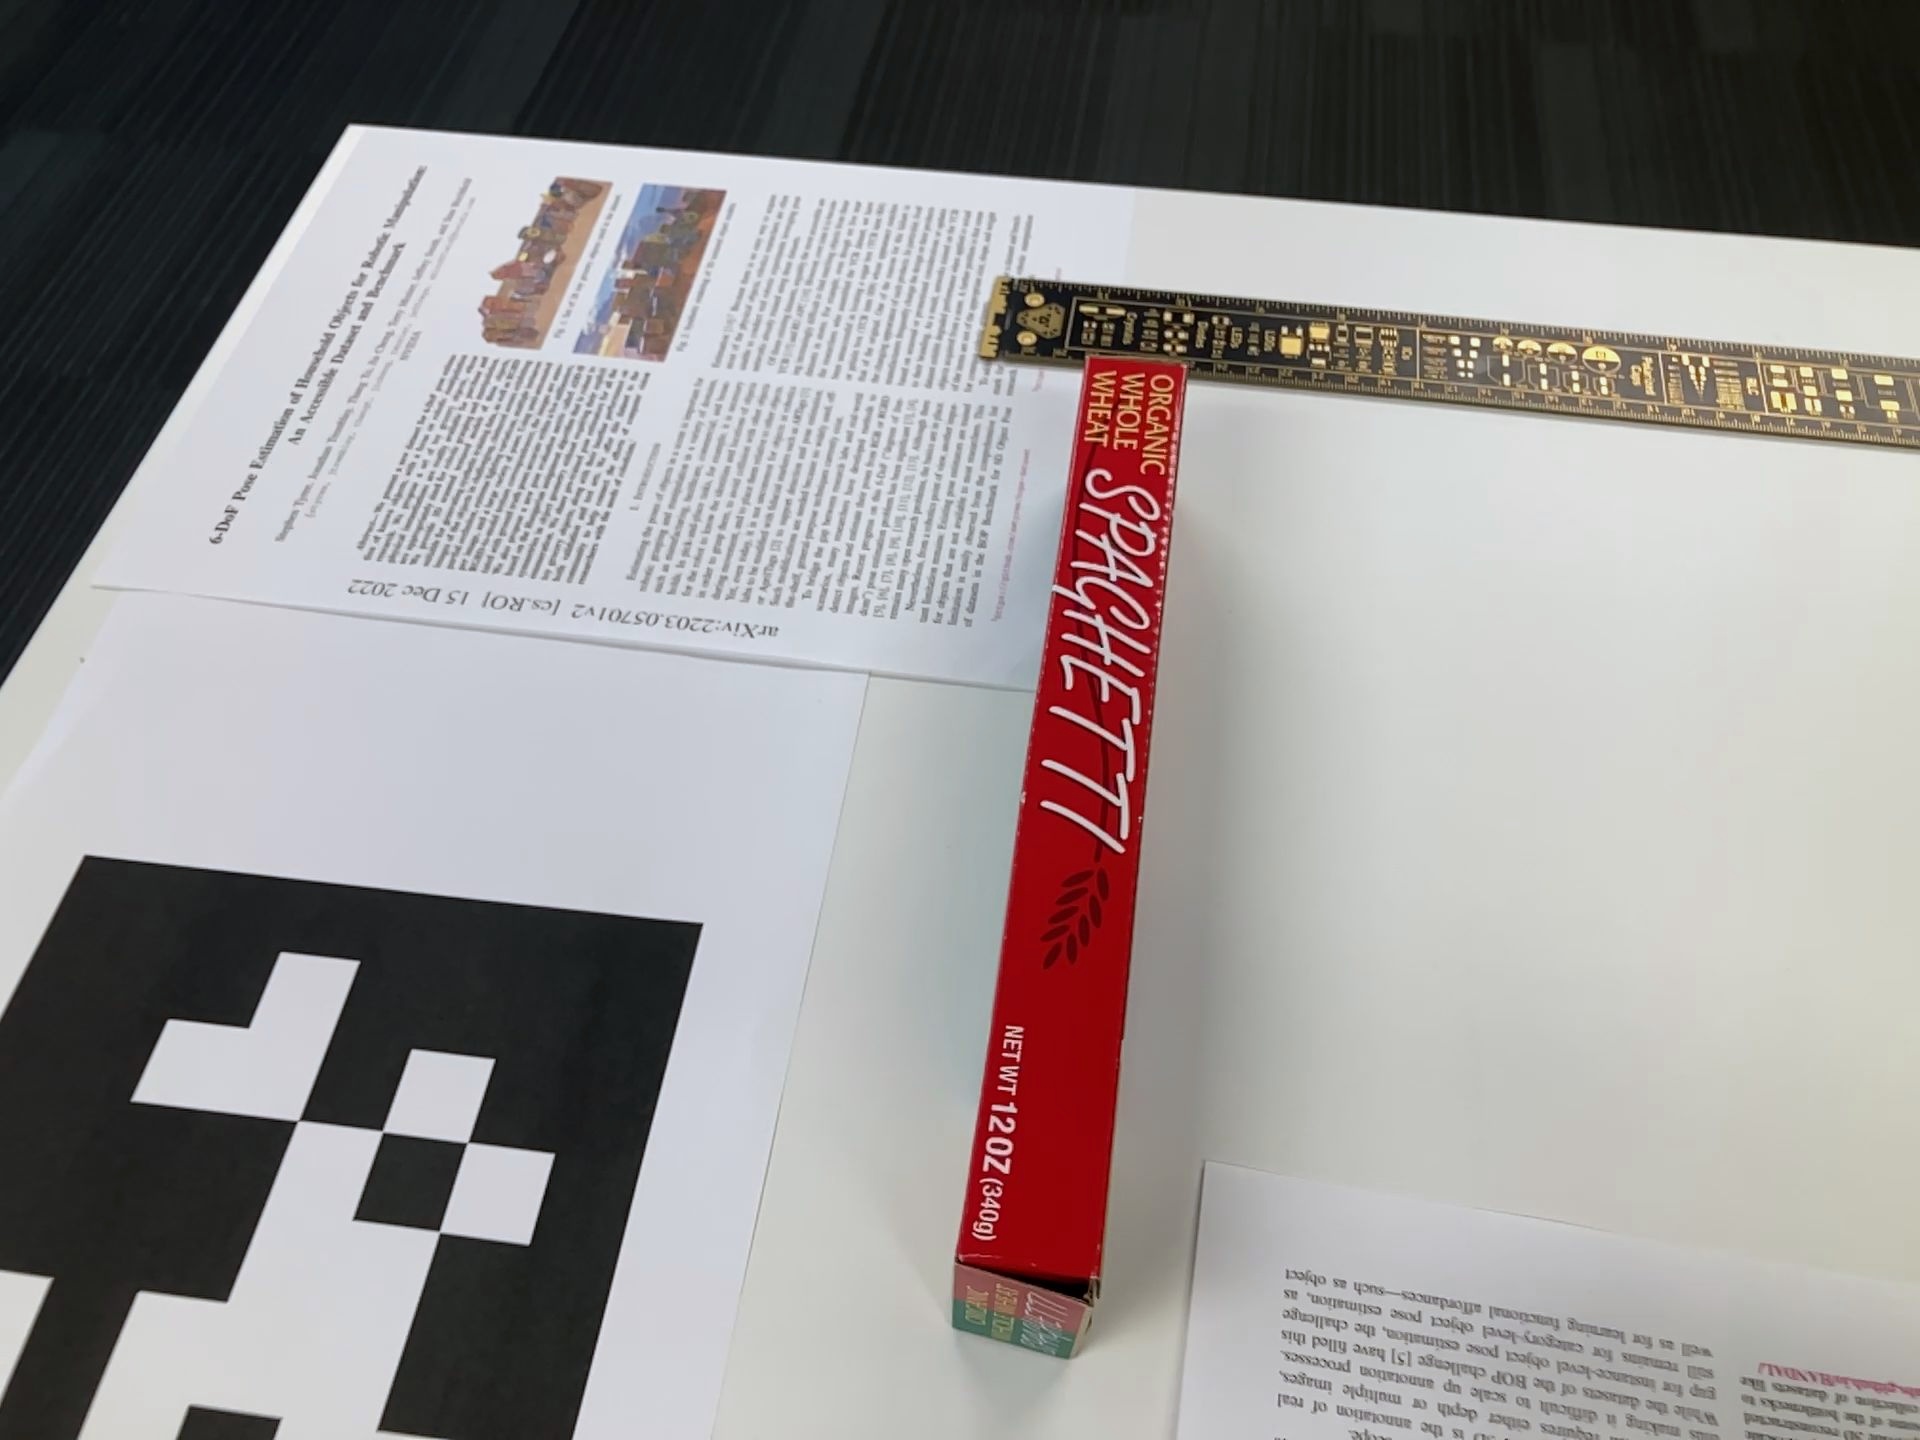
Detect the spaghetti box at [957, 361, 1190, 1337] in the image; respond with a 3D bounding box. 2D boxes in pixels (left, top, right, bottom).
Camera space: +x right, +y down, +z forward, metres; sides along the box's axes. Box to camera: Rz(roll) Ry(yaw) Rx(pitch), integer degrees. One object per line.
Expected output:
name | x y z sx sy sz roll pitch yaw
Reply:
spaghetti box | 0.031 0.014 0.385 0.028 0.050 0.250 8 55 4
